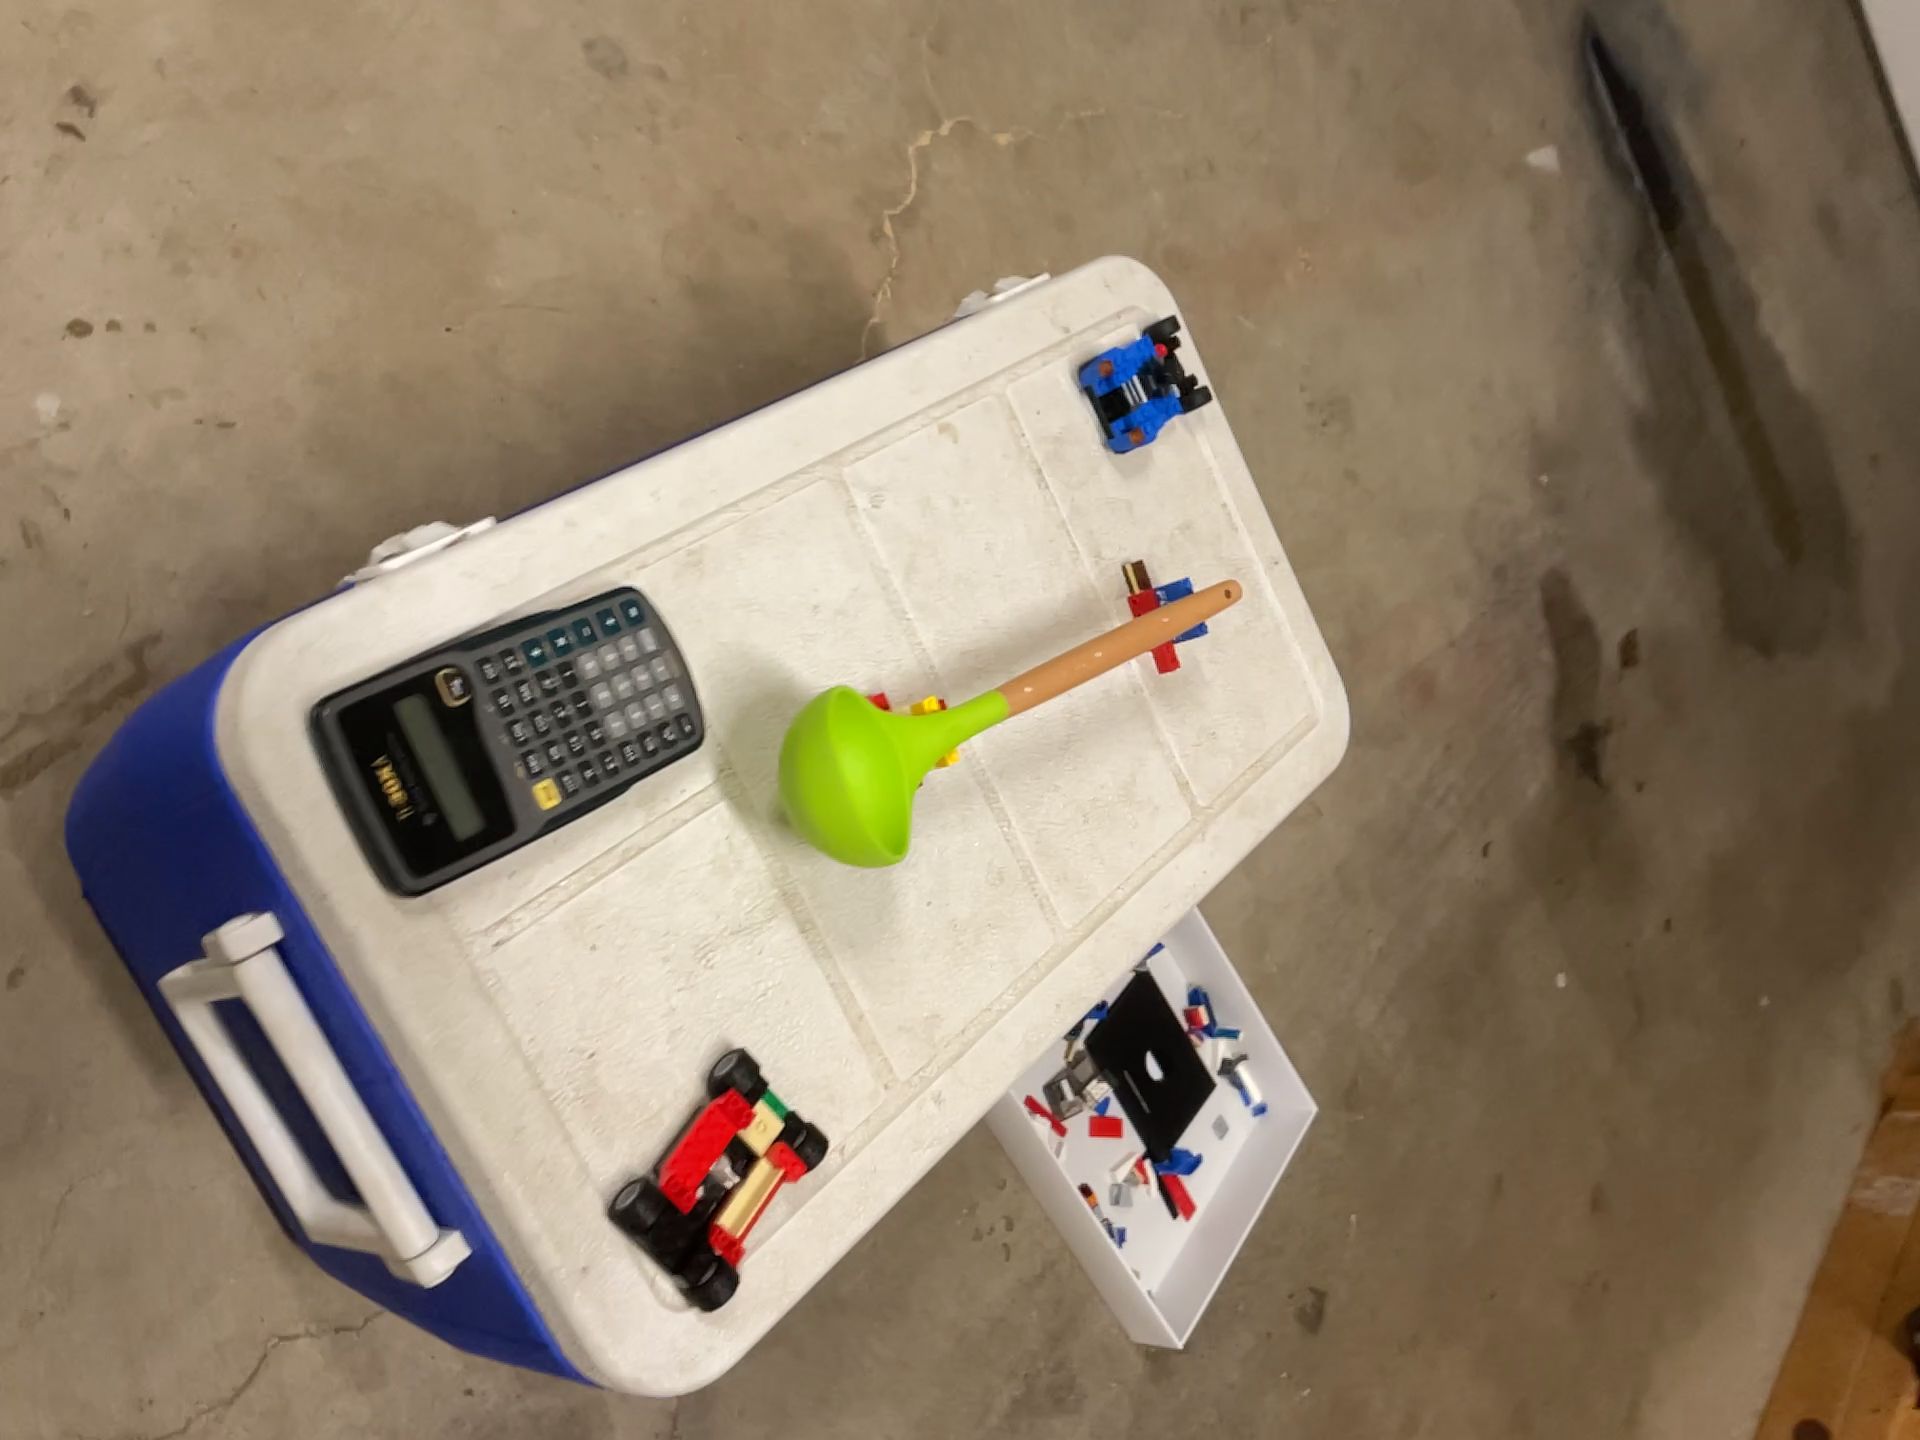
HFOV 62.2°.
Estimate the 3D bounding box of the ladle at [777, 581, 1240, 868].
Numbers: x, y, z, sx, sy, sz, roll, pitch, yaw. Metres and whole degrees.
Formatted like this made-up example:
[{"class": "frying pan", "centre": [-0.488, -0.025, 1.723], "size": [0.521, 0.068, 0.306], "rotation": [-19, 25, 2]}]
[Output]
[{"class": "ladle", "centre": [0.042, -0.017, 0.740], "size": [0.320, 0.062, 0.078], "rotation": [-26, 97, -40]}]
